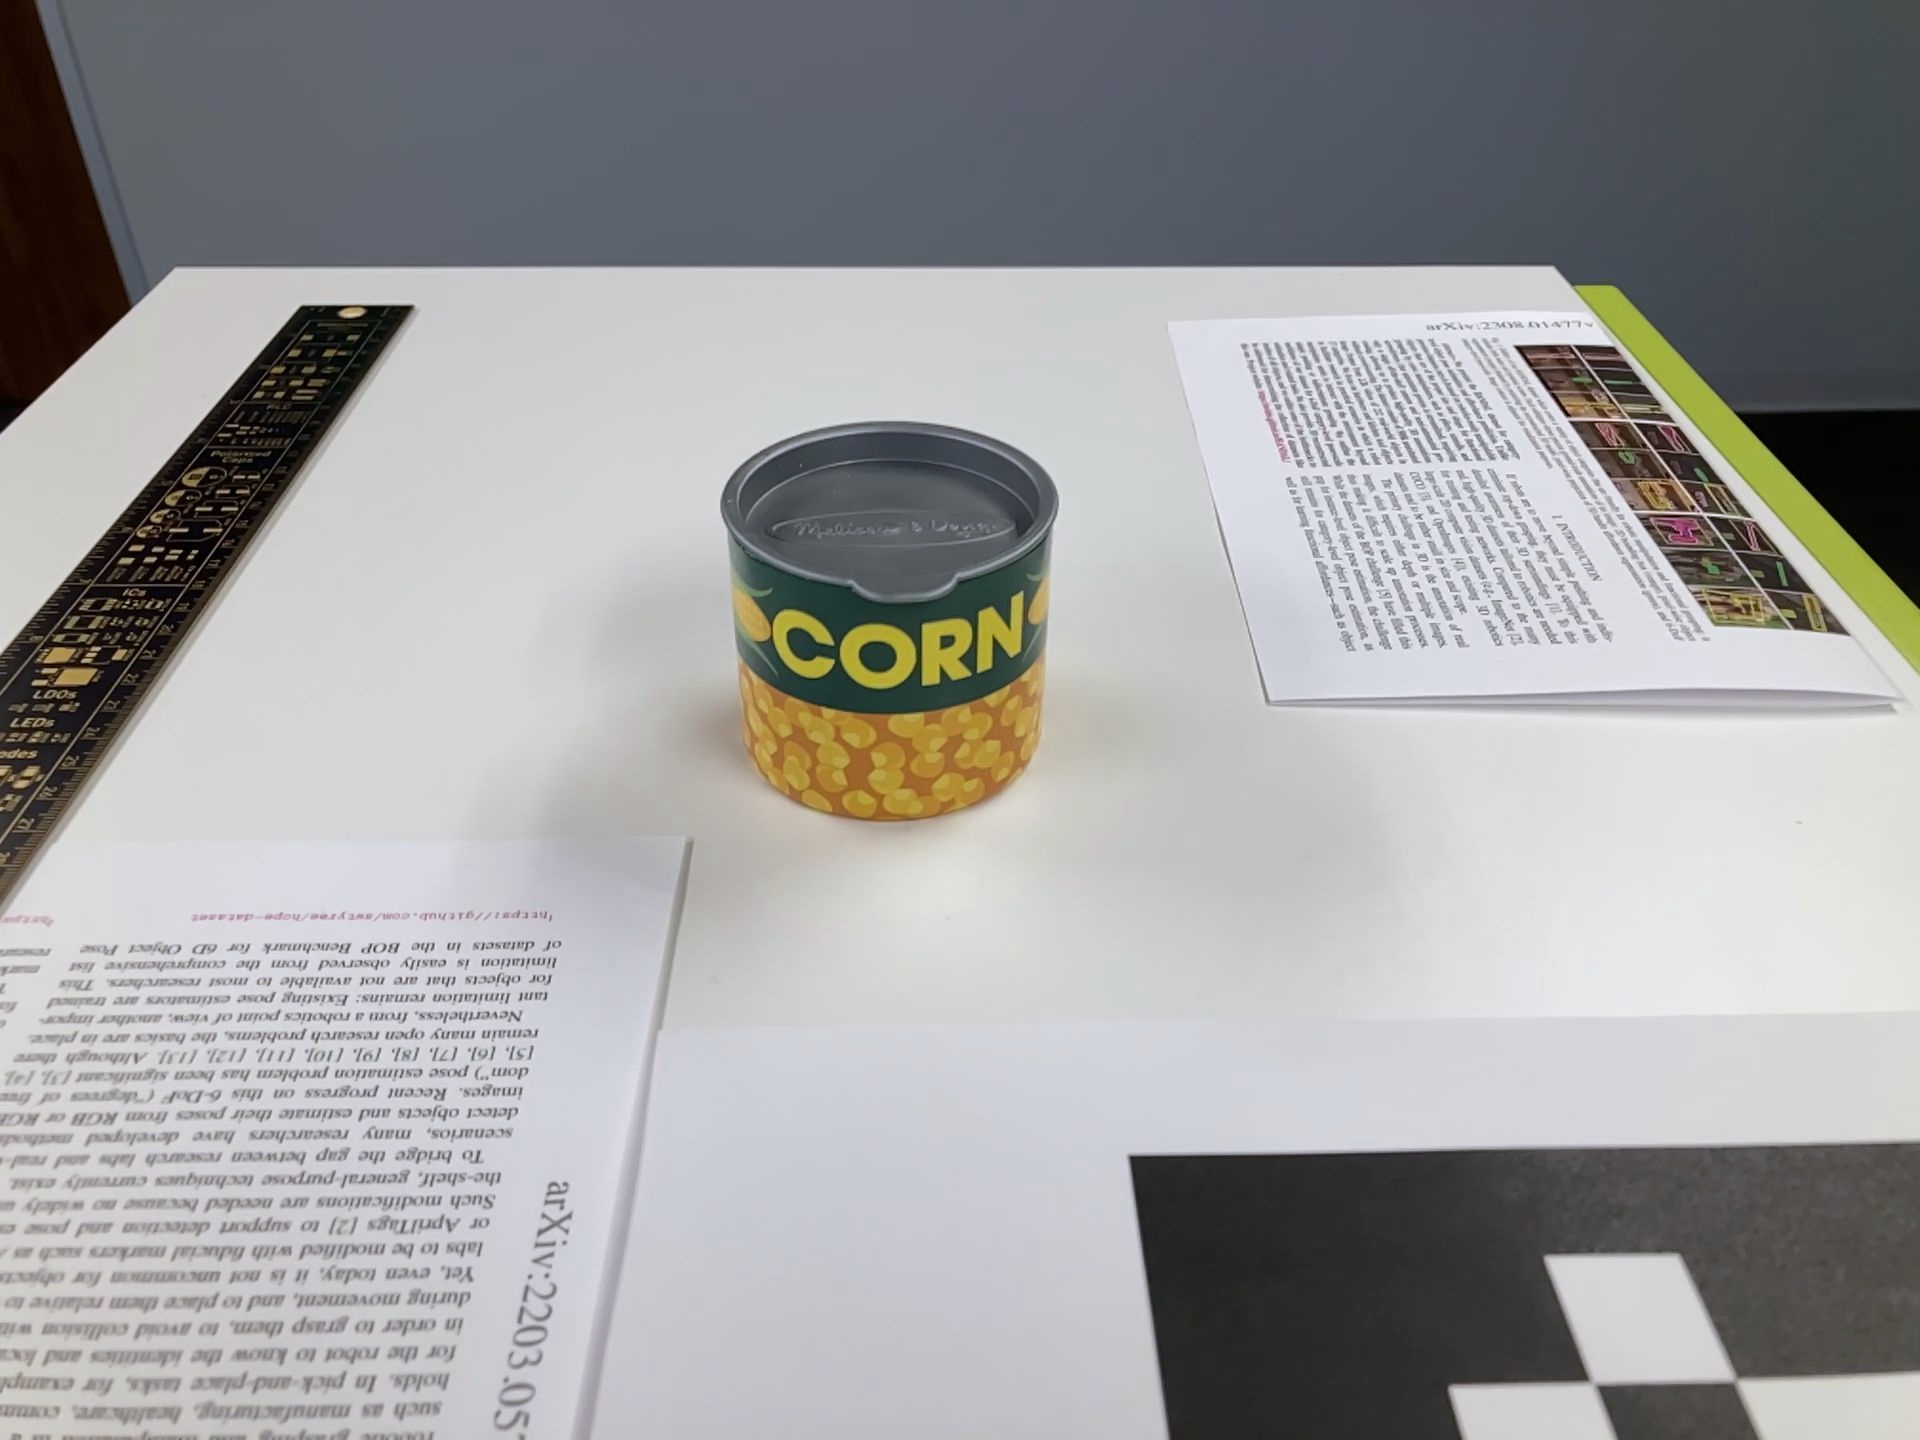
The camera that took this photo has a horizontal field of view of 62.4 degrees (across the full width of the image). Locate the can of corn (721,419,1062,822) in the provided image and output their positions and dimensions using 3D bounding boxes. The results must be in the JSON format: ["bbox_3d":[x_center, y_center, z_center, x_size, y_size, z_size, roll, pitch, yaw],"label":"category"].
[{"bbox_3d":[-0.014,-0.020,0.324,0.071,0.058,0.071,1,36,-1],"label":"can of corn"}]
